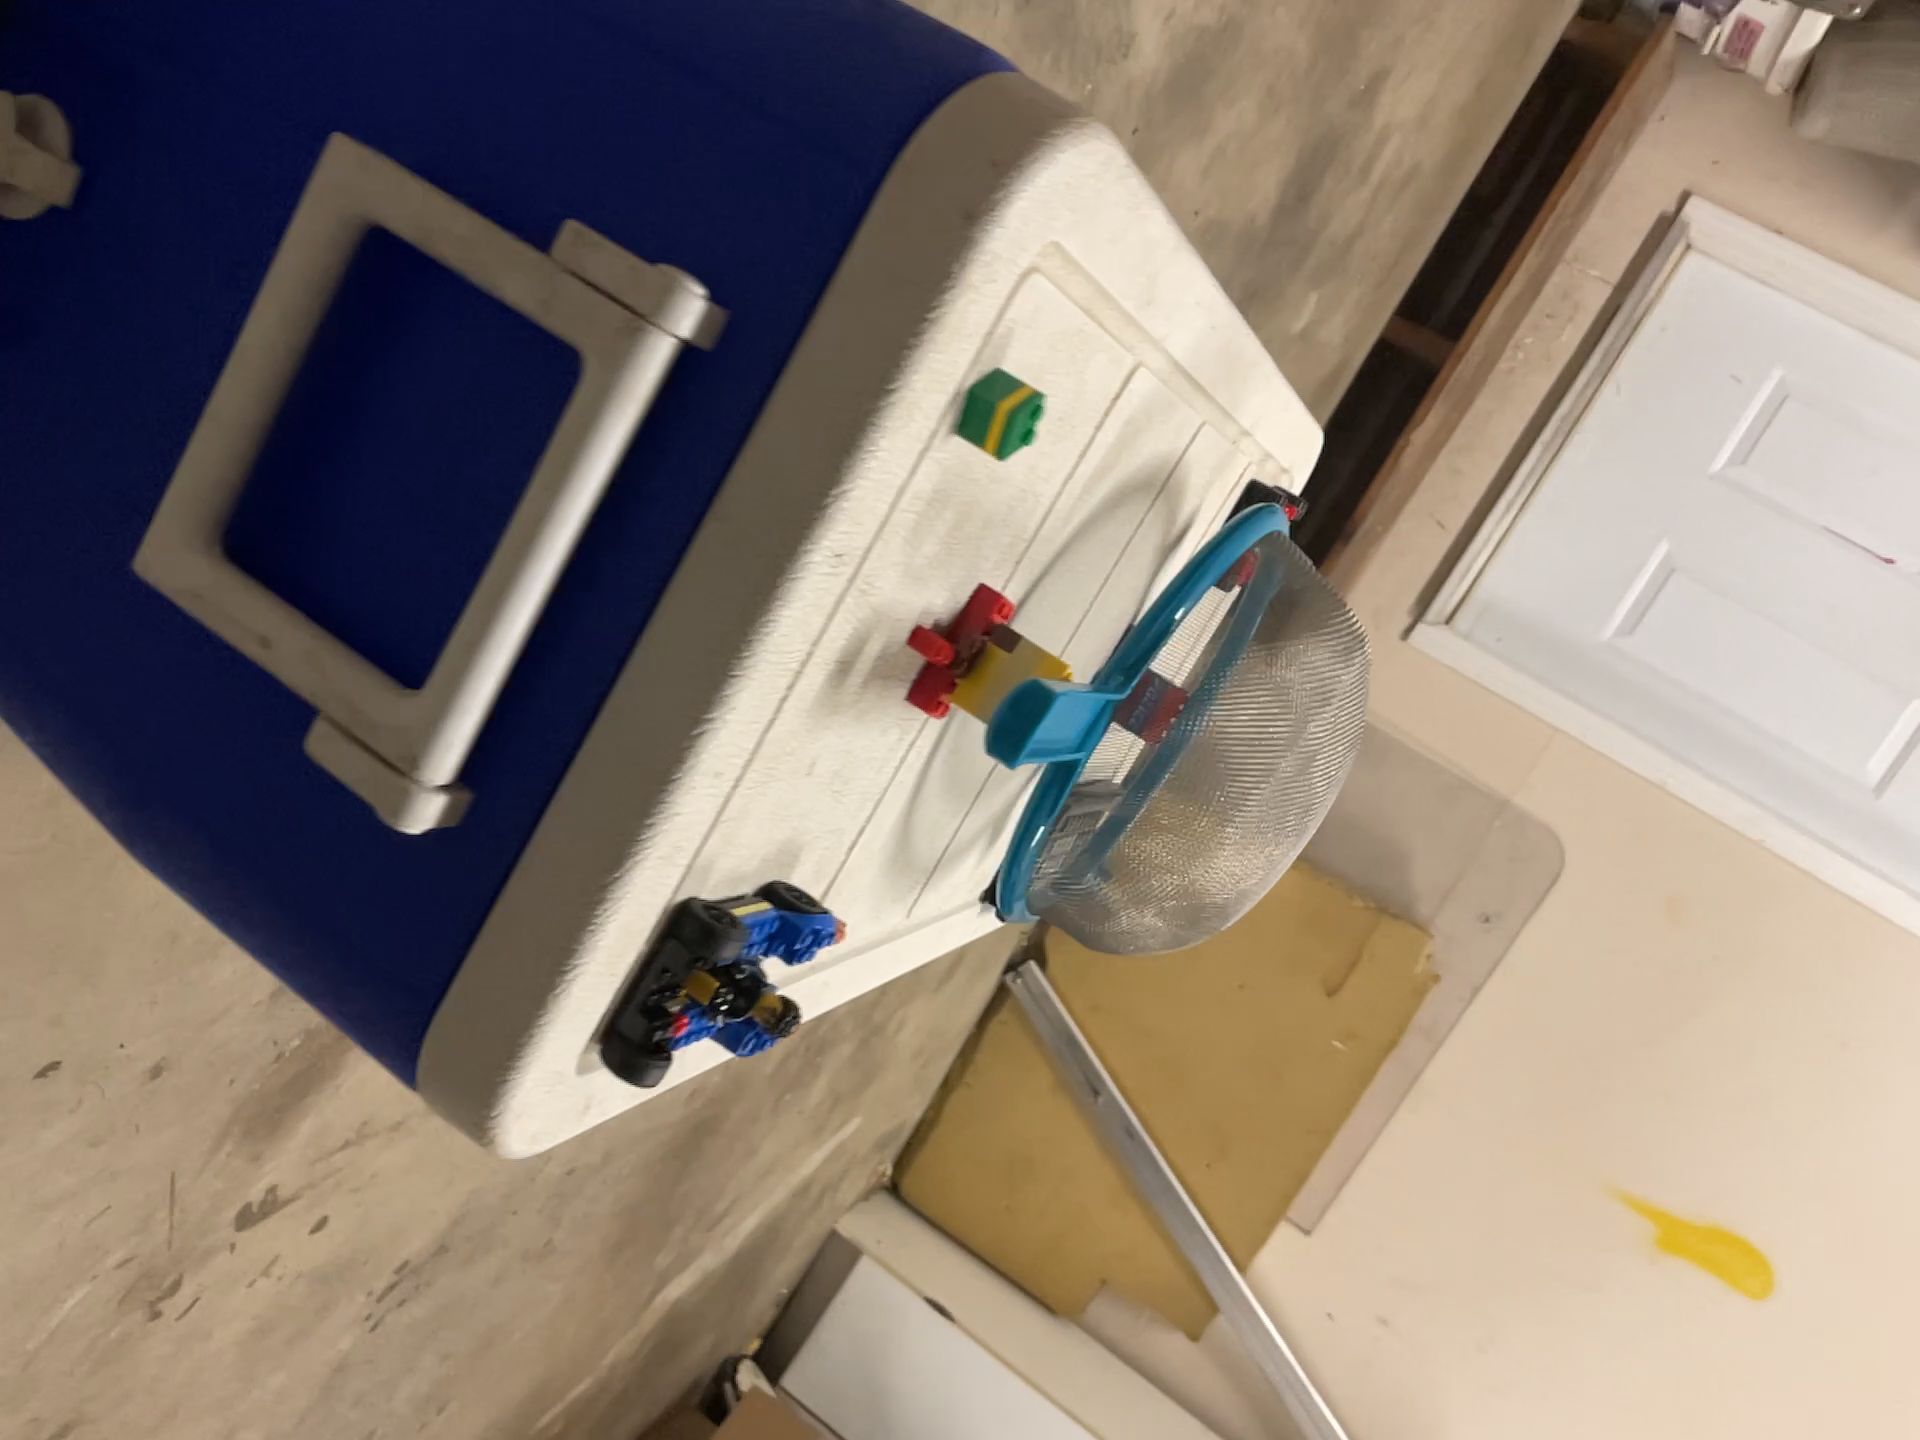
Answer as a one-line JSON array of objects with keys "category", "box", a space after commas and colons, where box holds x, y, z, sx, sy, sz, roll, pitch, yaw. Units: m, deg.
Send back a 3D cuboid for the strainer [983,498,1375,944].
[{"category": "strainer", "box": [0.094, 0.019, 0.614, 0.211, 0.095, 0.340, -59, 166, 9]}]
